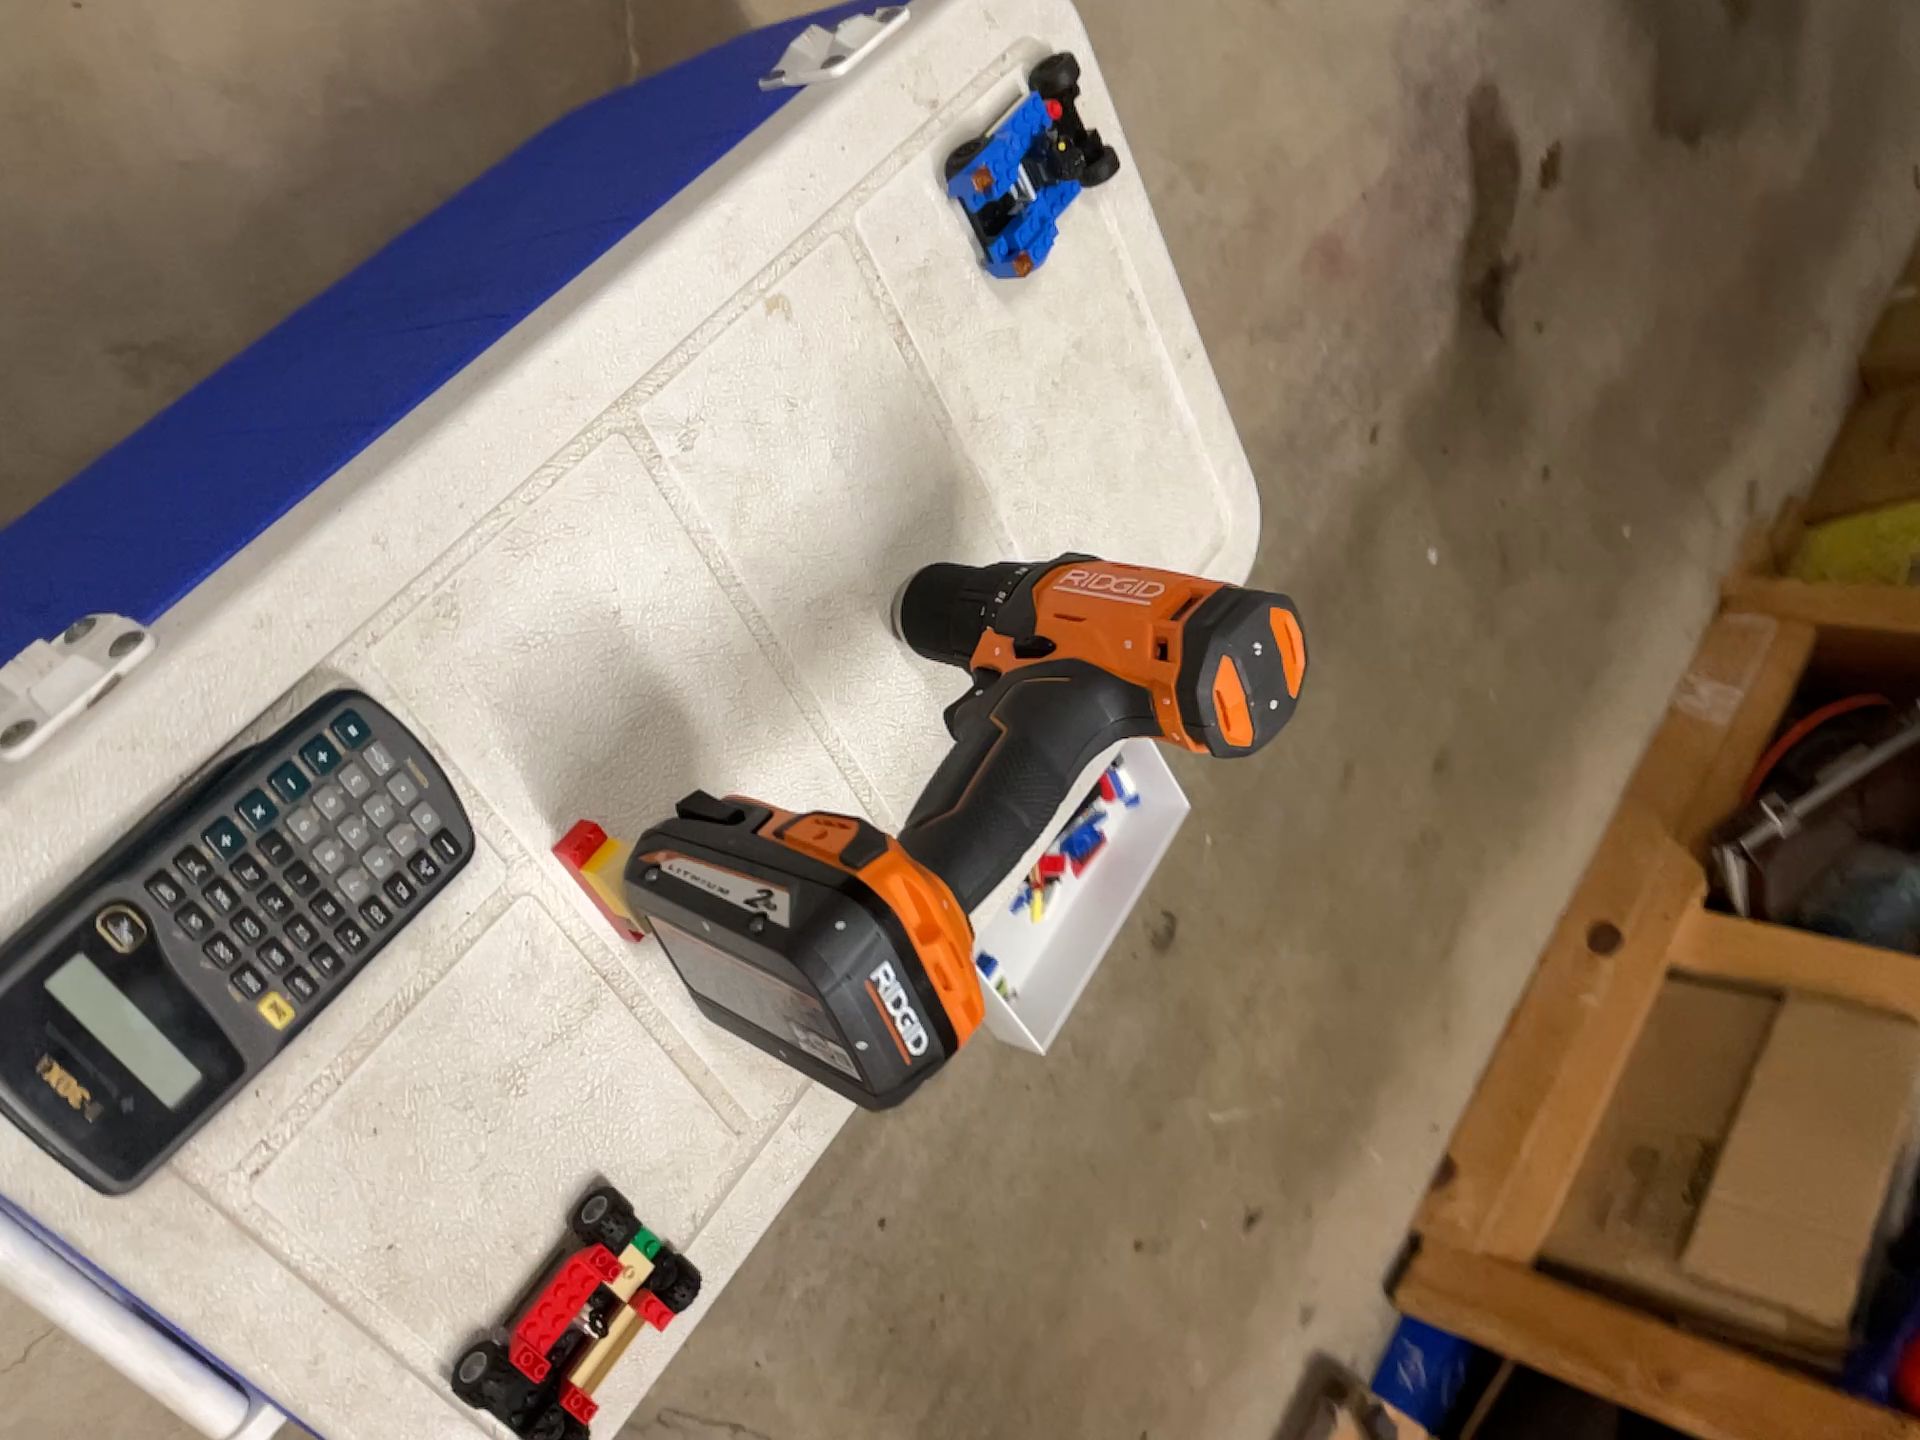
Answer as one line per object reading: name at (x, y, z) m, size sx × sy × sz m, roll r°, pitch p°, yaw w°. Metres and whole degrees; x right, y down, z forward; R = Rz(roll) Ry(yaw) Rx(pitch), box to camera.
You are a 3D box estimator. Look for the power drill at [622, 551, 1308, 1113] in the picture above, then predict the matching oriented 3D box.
power drill at (-0.010, 0.015, 0.574) m, size 0.226 × 0.185 × 0.084 m, roll -42°, pitch 127°, yaw -28°
